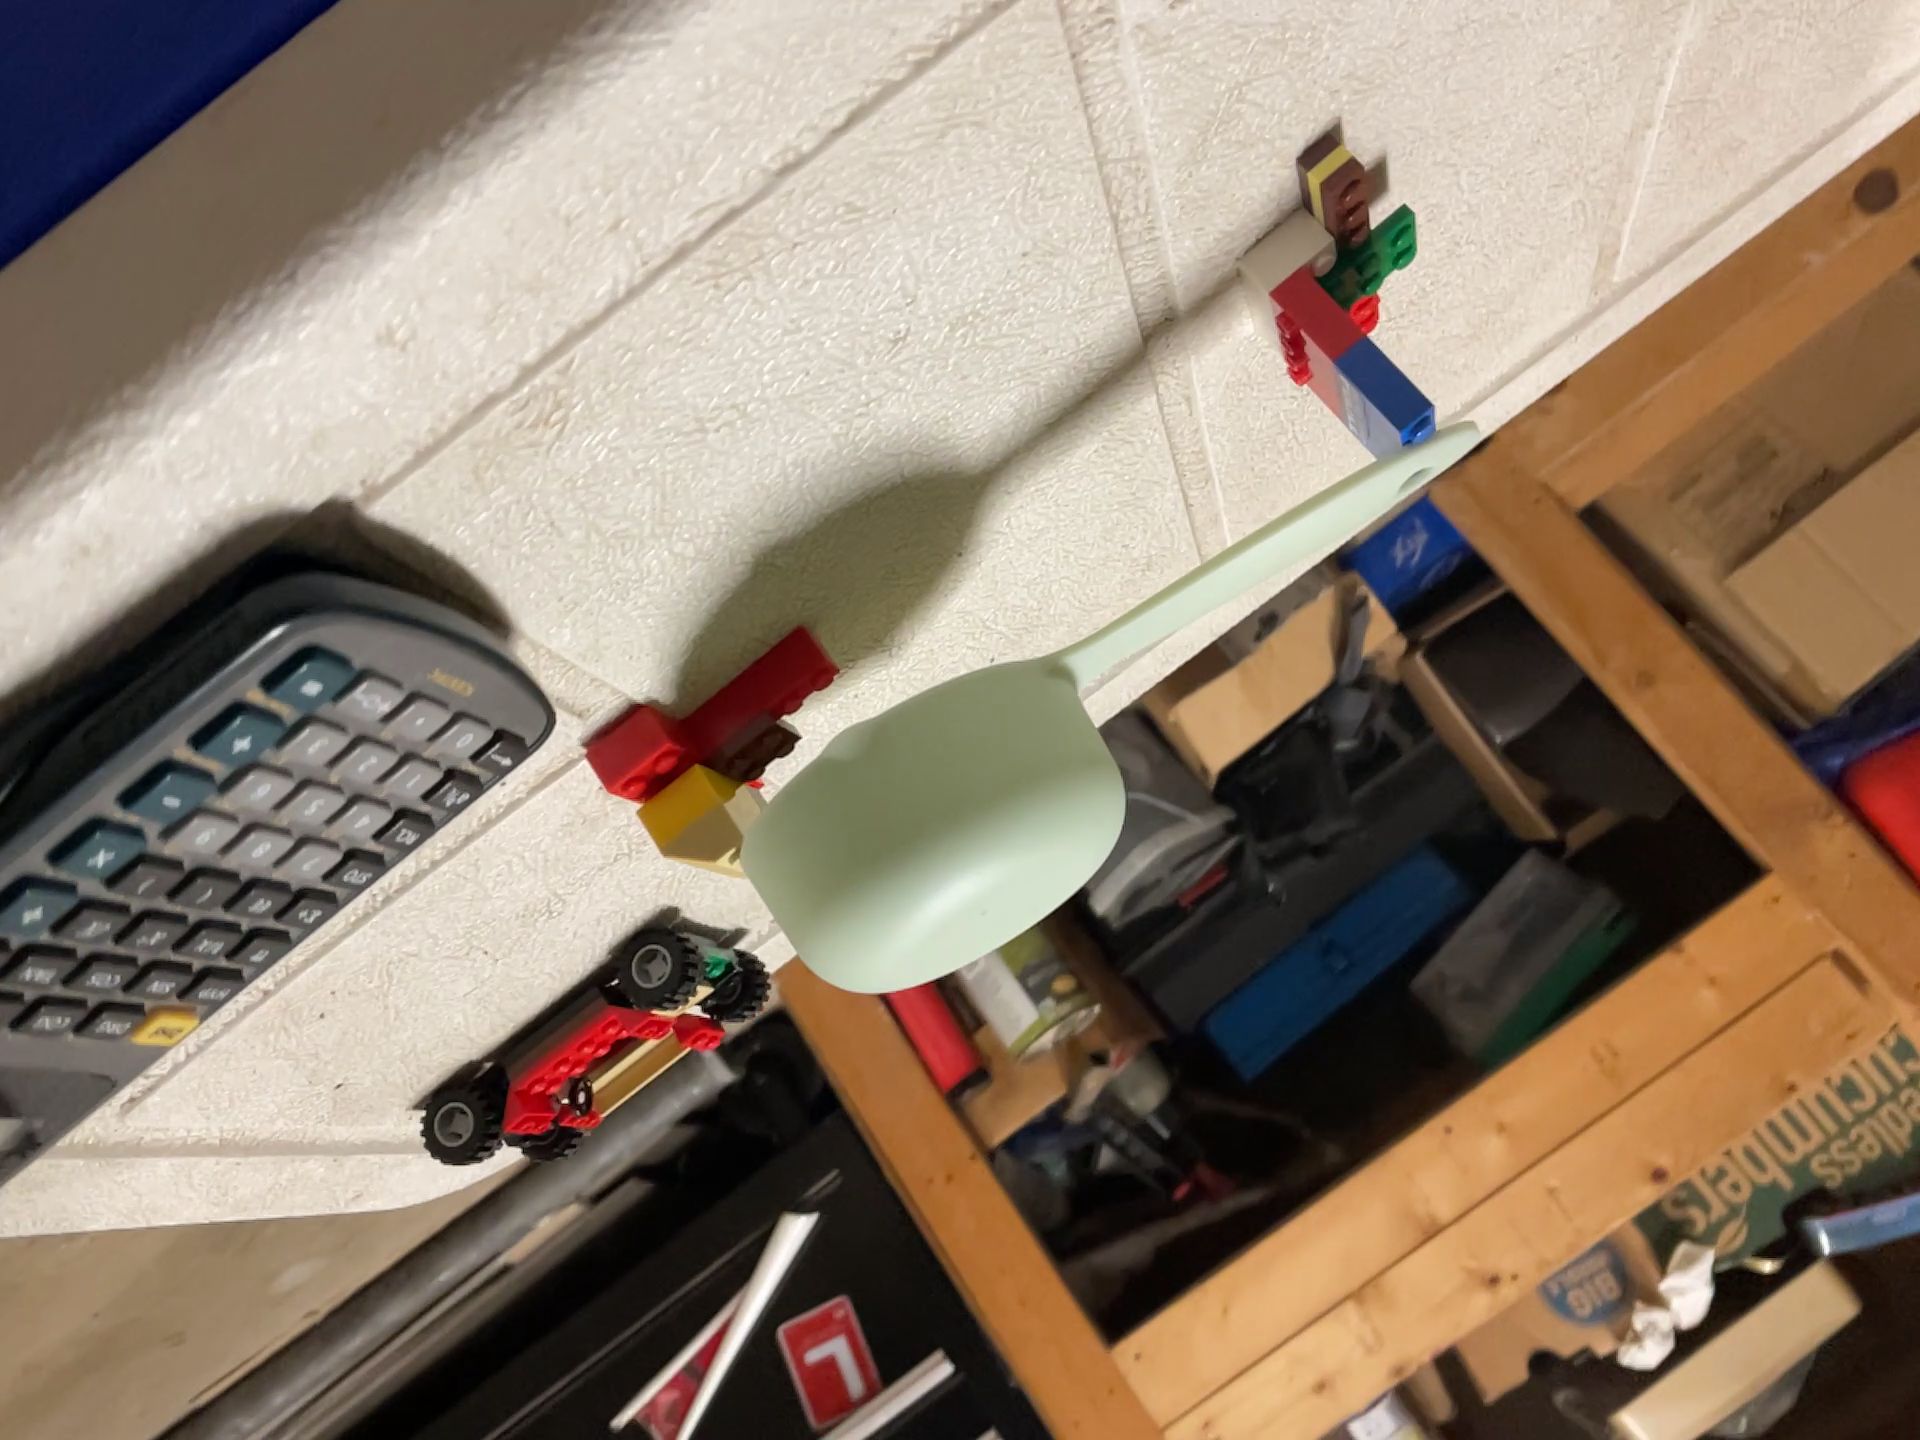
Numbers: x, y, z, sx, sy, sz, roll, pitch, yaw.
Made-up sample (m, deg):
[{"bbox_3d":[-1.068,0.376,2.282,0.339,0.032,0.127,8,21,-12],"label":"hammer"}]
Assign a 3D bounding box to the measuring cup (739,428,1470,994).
[{"bbox_3d":[0.036,0.001,0.317,0.167,0.038,0.083,-32,161,6],"label":"measuring cup"}]
